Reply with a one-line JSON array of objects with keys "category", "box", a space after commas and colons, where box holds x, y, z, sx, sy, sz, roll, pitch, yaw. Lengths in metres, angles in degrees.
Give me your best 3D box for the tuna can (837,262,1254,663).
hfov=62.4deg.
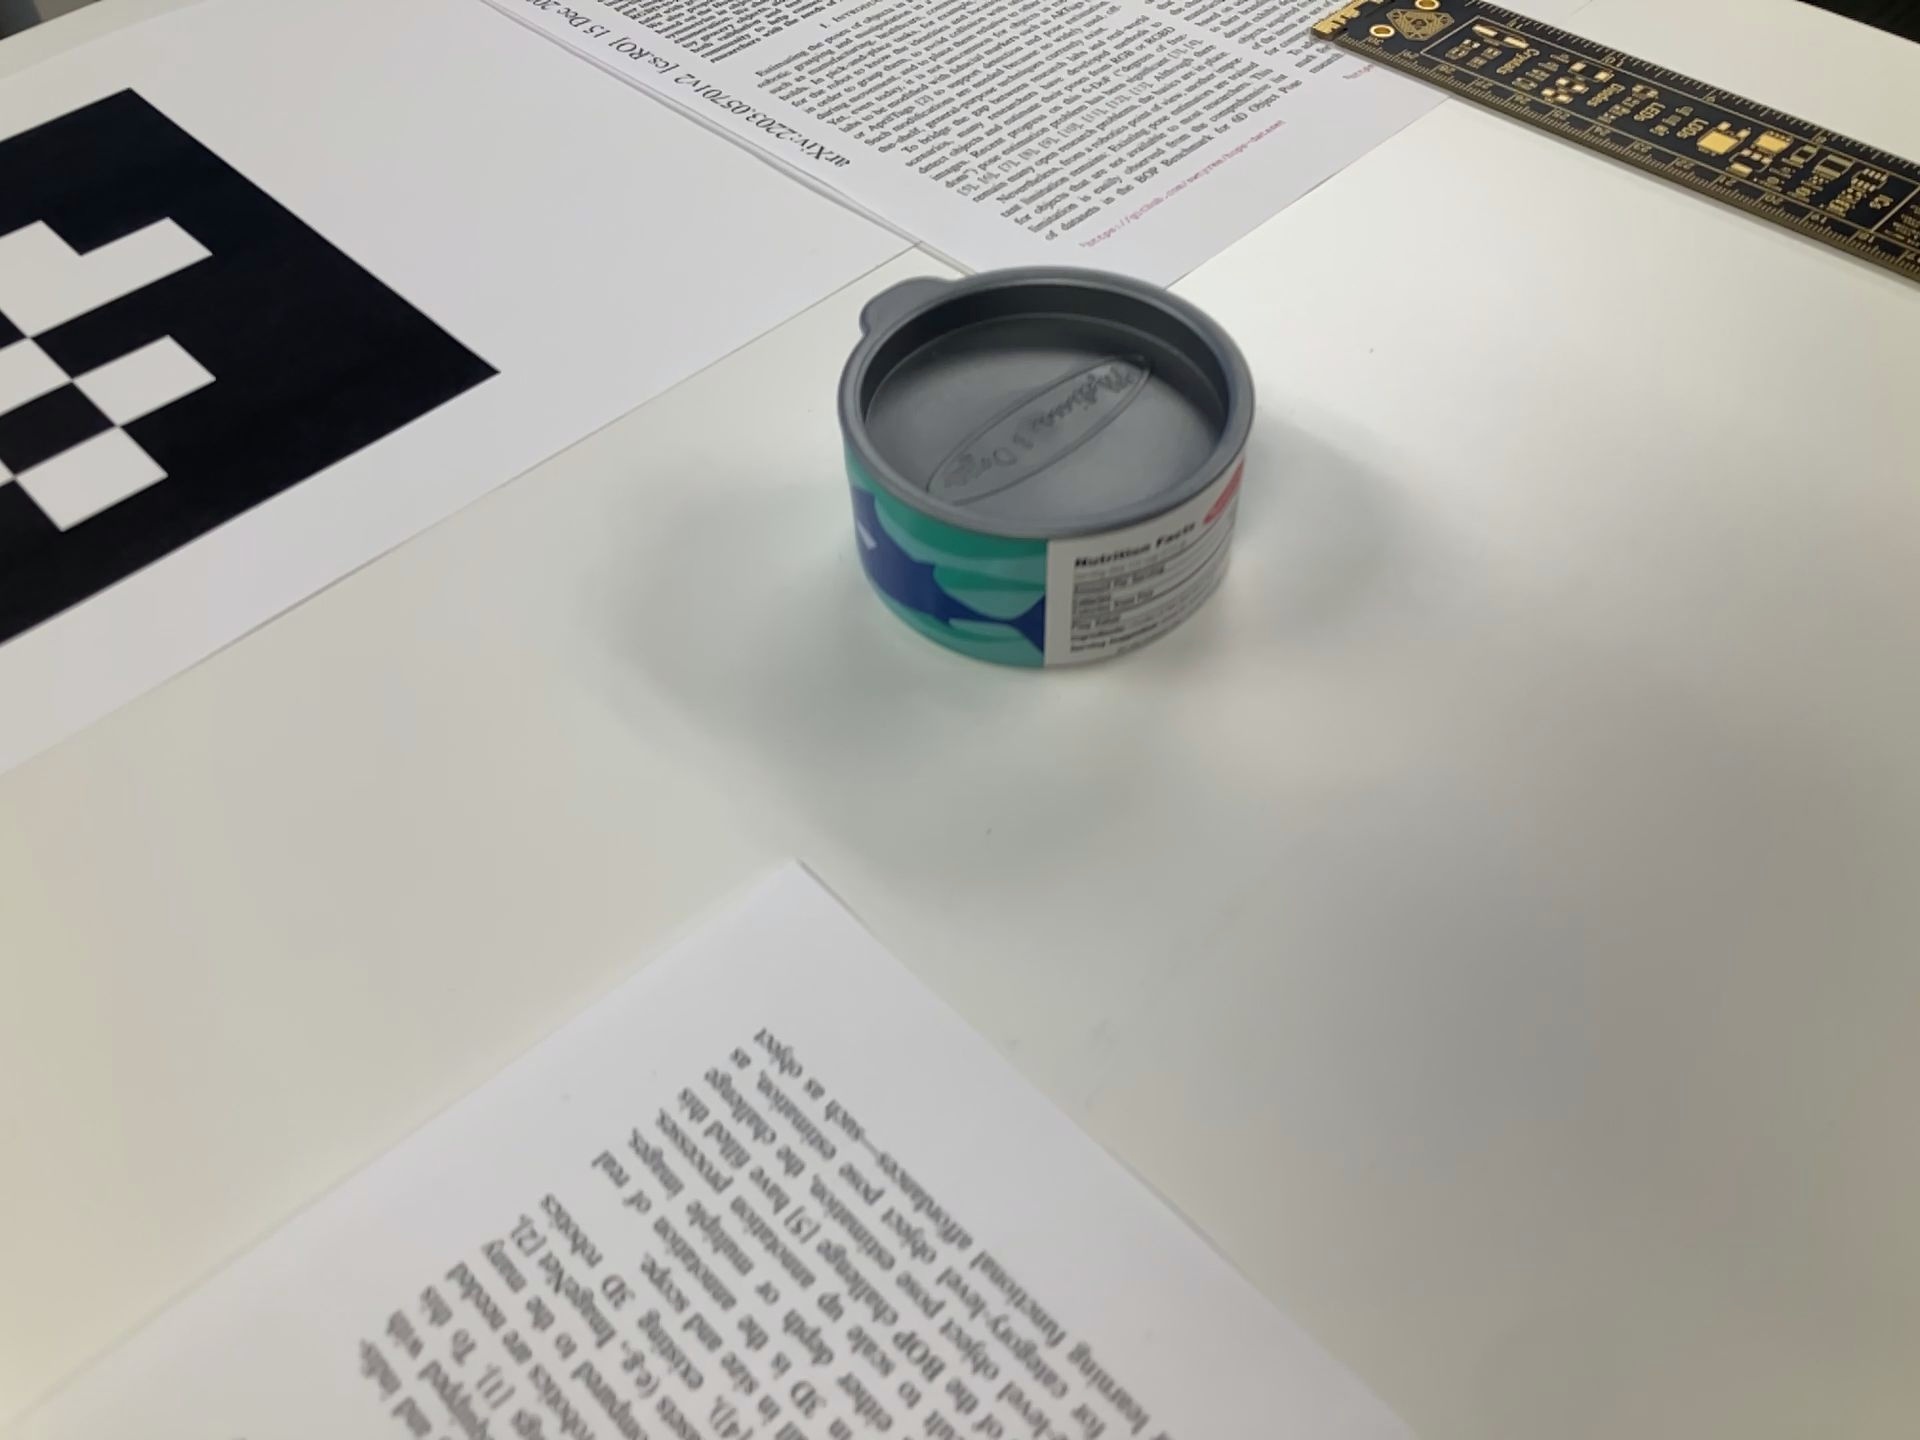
[{"category": "tuna can", "box": [0.012, -0.045, 0.264, 0.071, 0.033, 0.071, -2, 50, 2]}]
